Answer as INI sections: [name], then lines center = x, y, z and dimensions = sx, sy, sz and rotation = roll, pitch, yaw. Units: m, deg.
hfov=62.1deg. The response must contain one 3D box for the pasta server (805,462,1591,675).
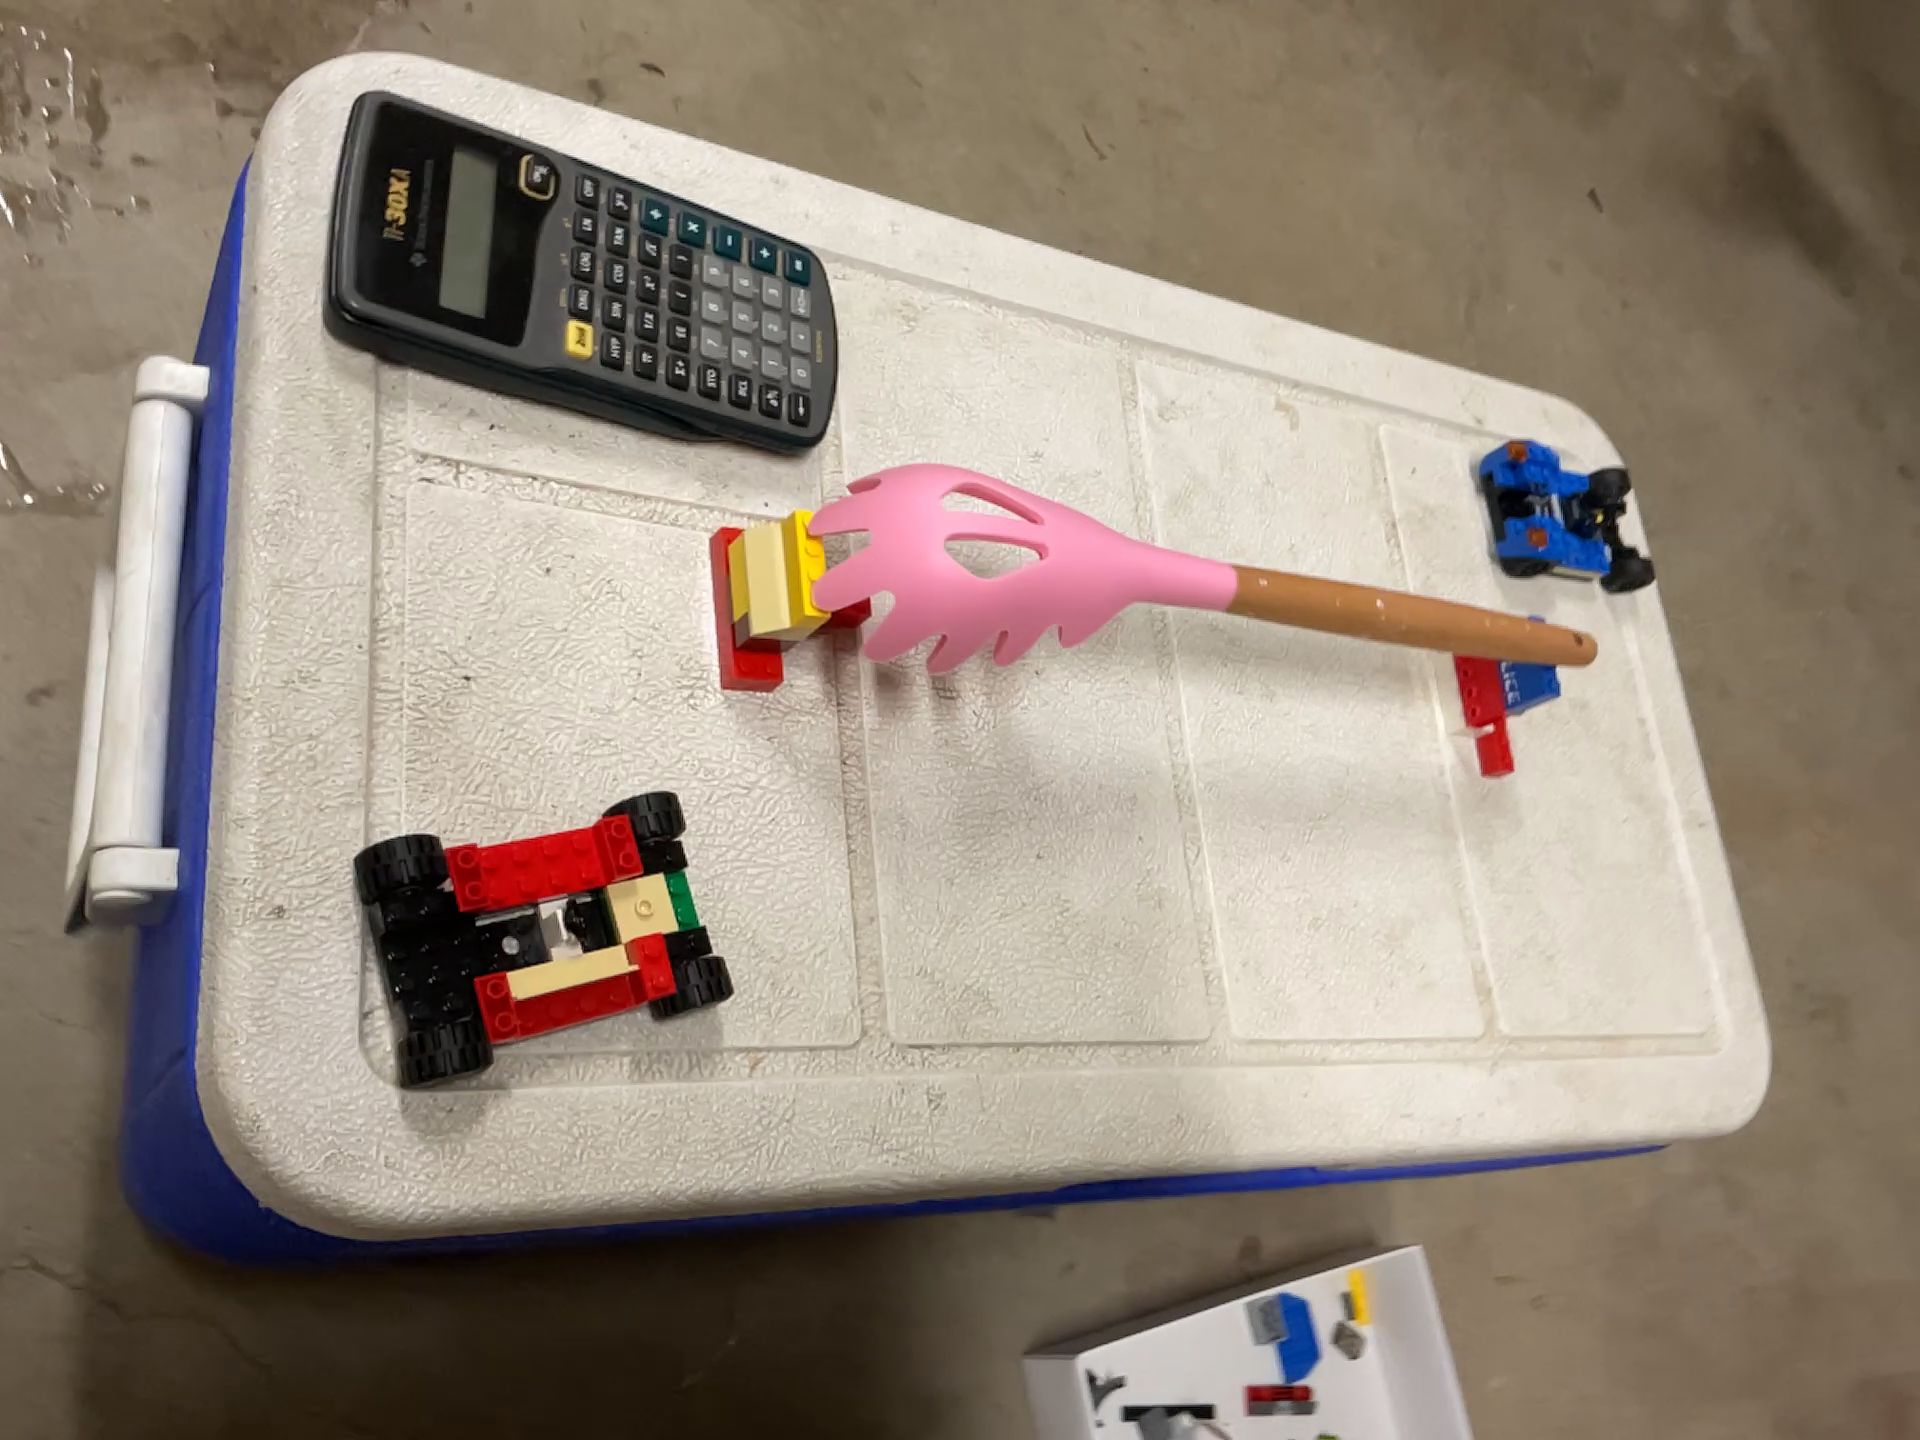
[pasta server]
center = 0.098, -0.036, 0.514
dimensions = 0.316, 0.040, 0.060
rotation = 6, 67, -35
